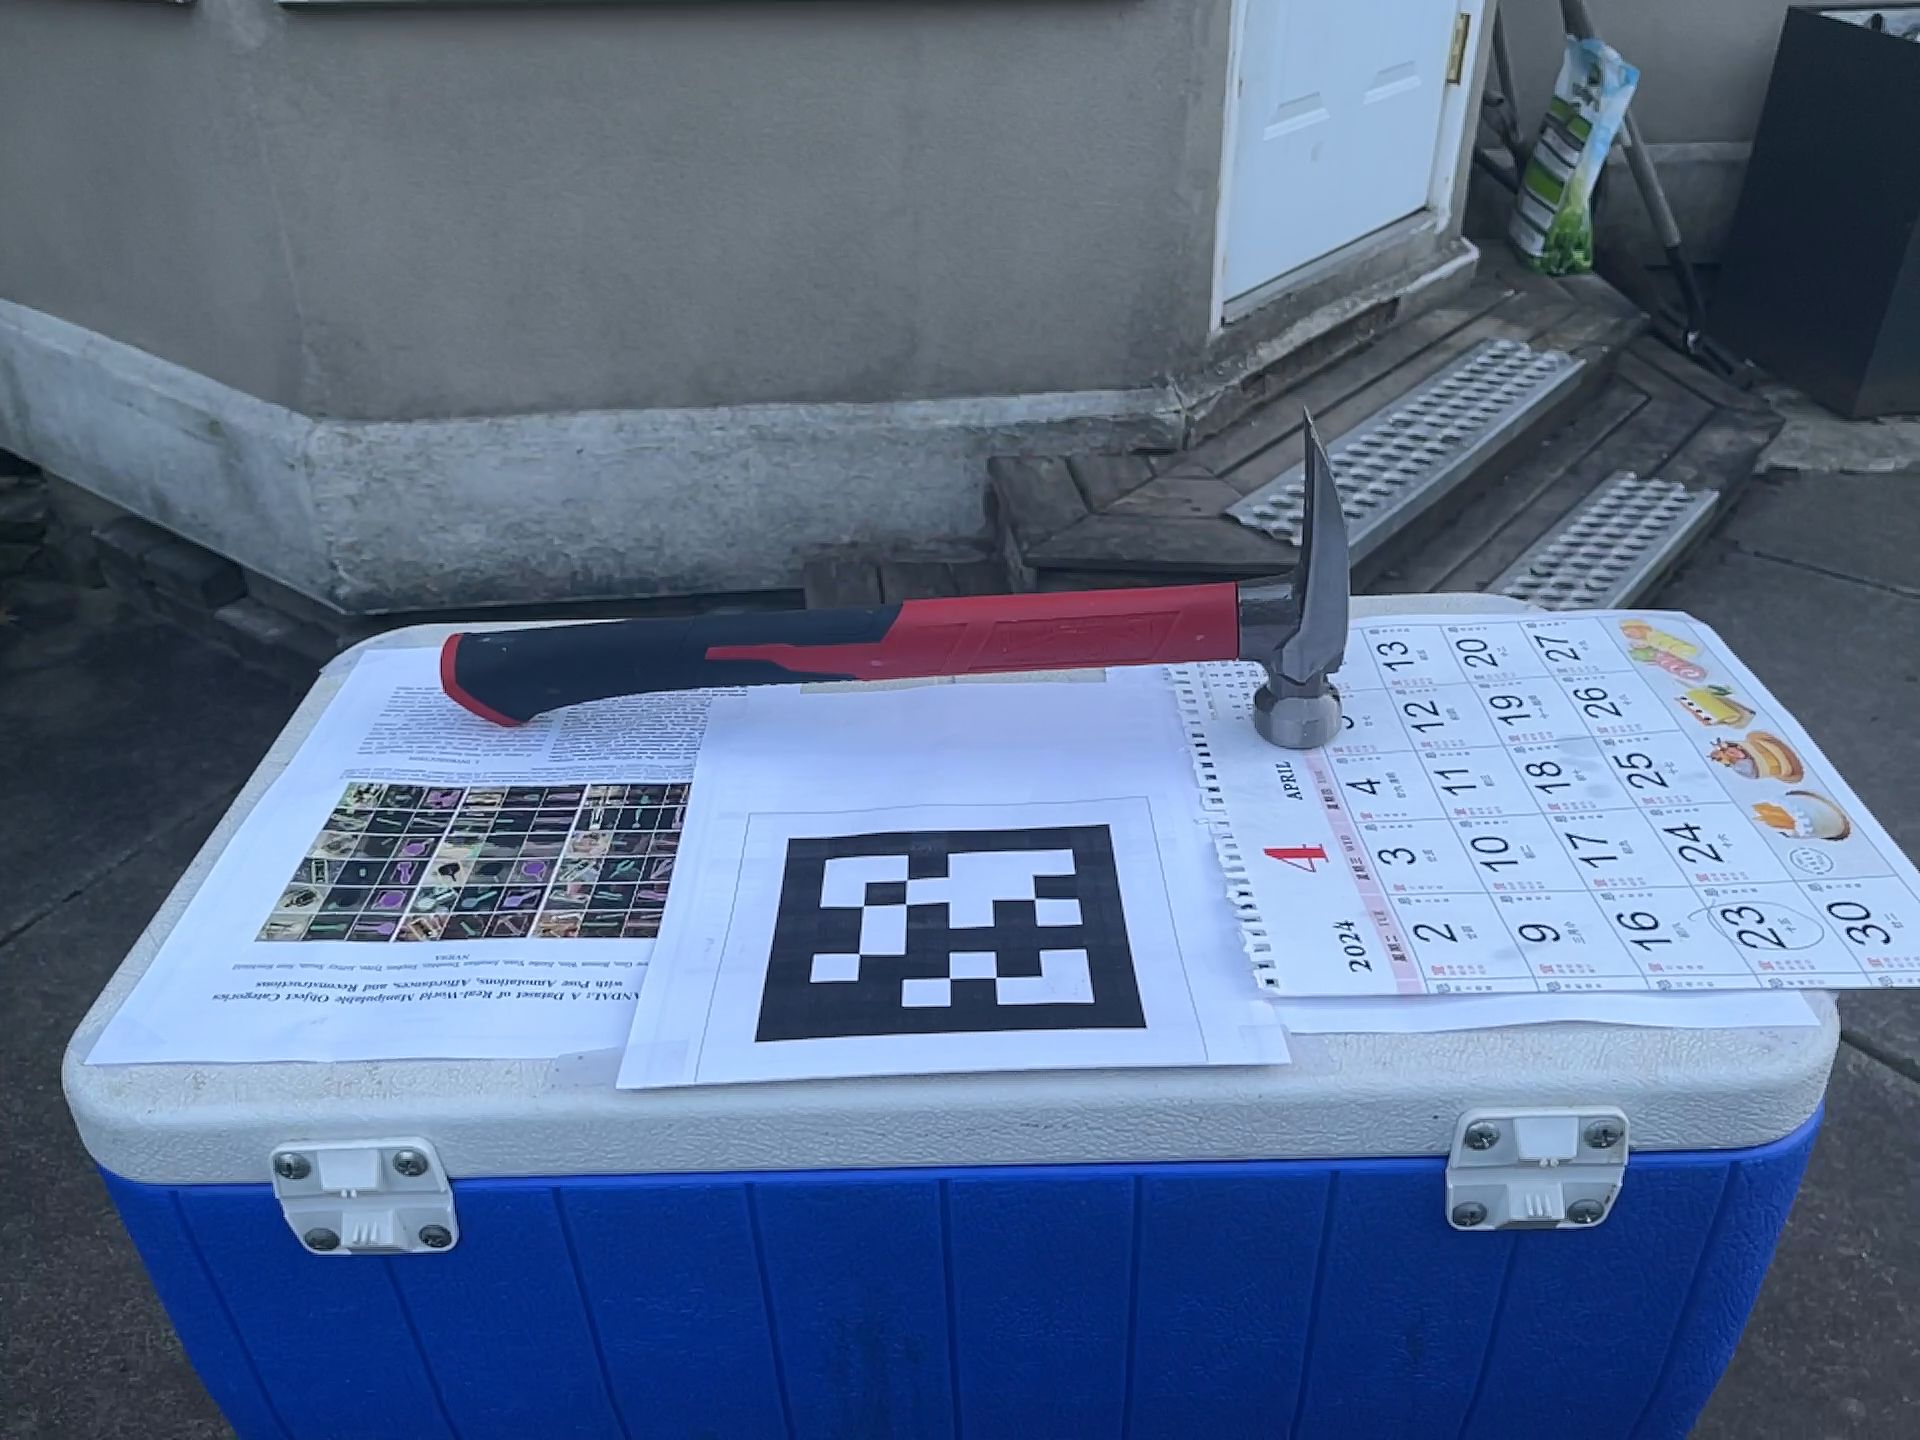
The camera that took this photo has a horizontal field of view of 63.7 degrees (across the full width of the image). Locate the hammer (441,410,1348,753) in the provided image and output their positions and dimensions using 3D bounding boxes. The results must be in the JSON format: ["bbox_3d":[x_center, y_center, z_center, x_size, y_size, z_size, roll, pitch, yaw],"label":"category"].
[{"bbox_3d":[-0.035,-0.046,0.654,0.386,0.143,0.038,-3,32,7],"label":"hammer"}]
